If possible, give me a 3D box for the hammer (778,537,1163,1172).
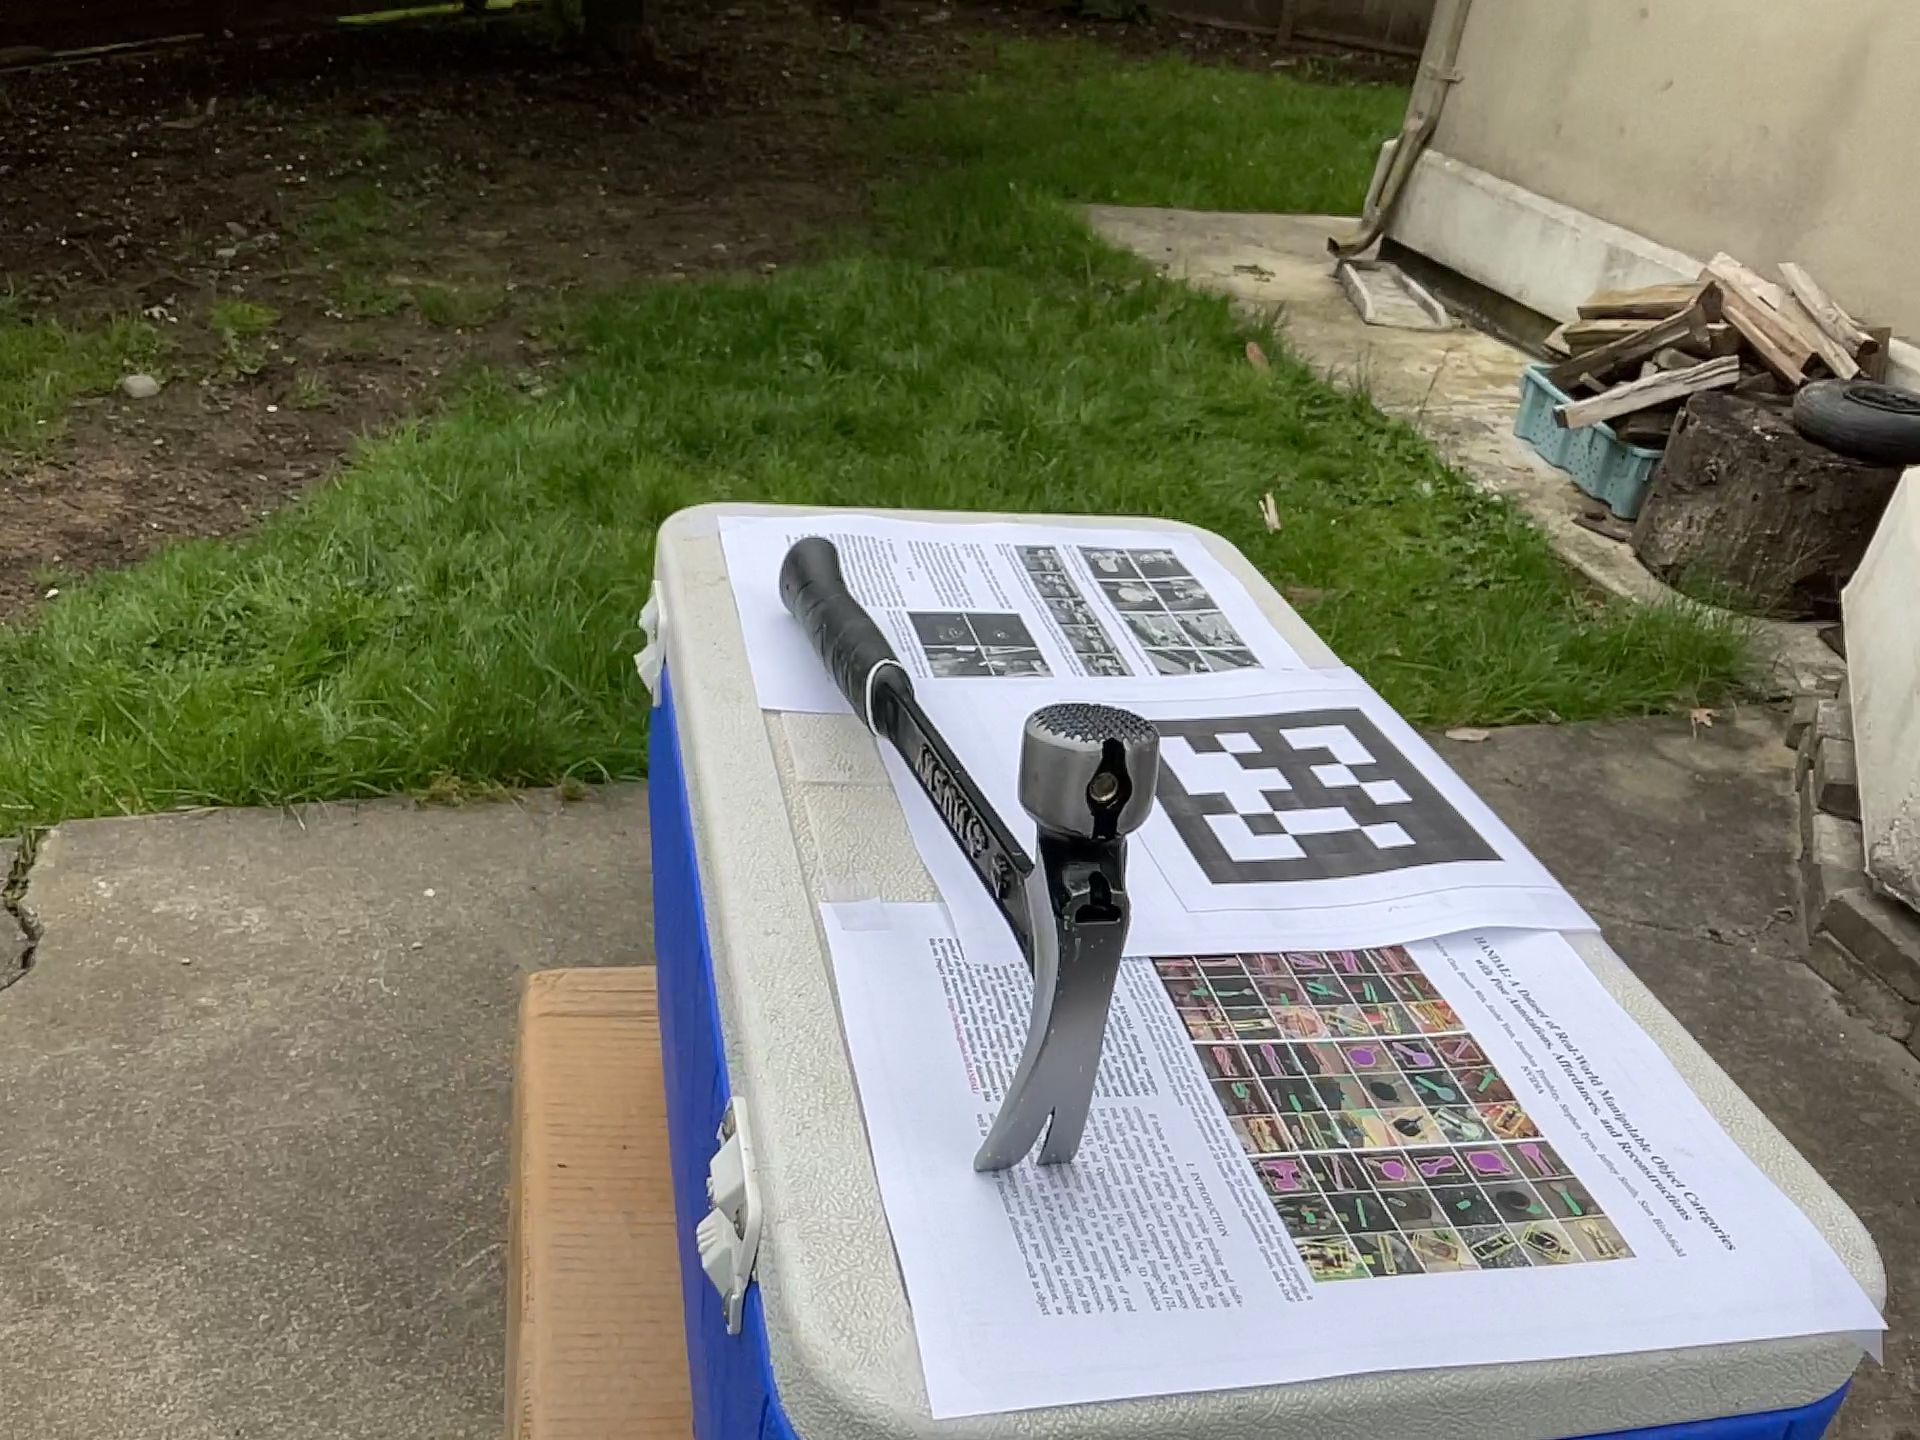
[{"bbox_3d":[-0.021,0.005,0.605,0.036,0.149,0.409,-1,20,-16],"label":"hammer"}]
